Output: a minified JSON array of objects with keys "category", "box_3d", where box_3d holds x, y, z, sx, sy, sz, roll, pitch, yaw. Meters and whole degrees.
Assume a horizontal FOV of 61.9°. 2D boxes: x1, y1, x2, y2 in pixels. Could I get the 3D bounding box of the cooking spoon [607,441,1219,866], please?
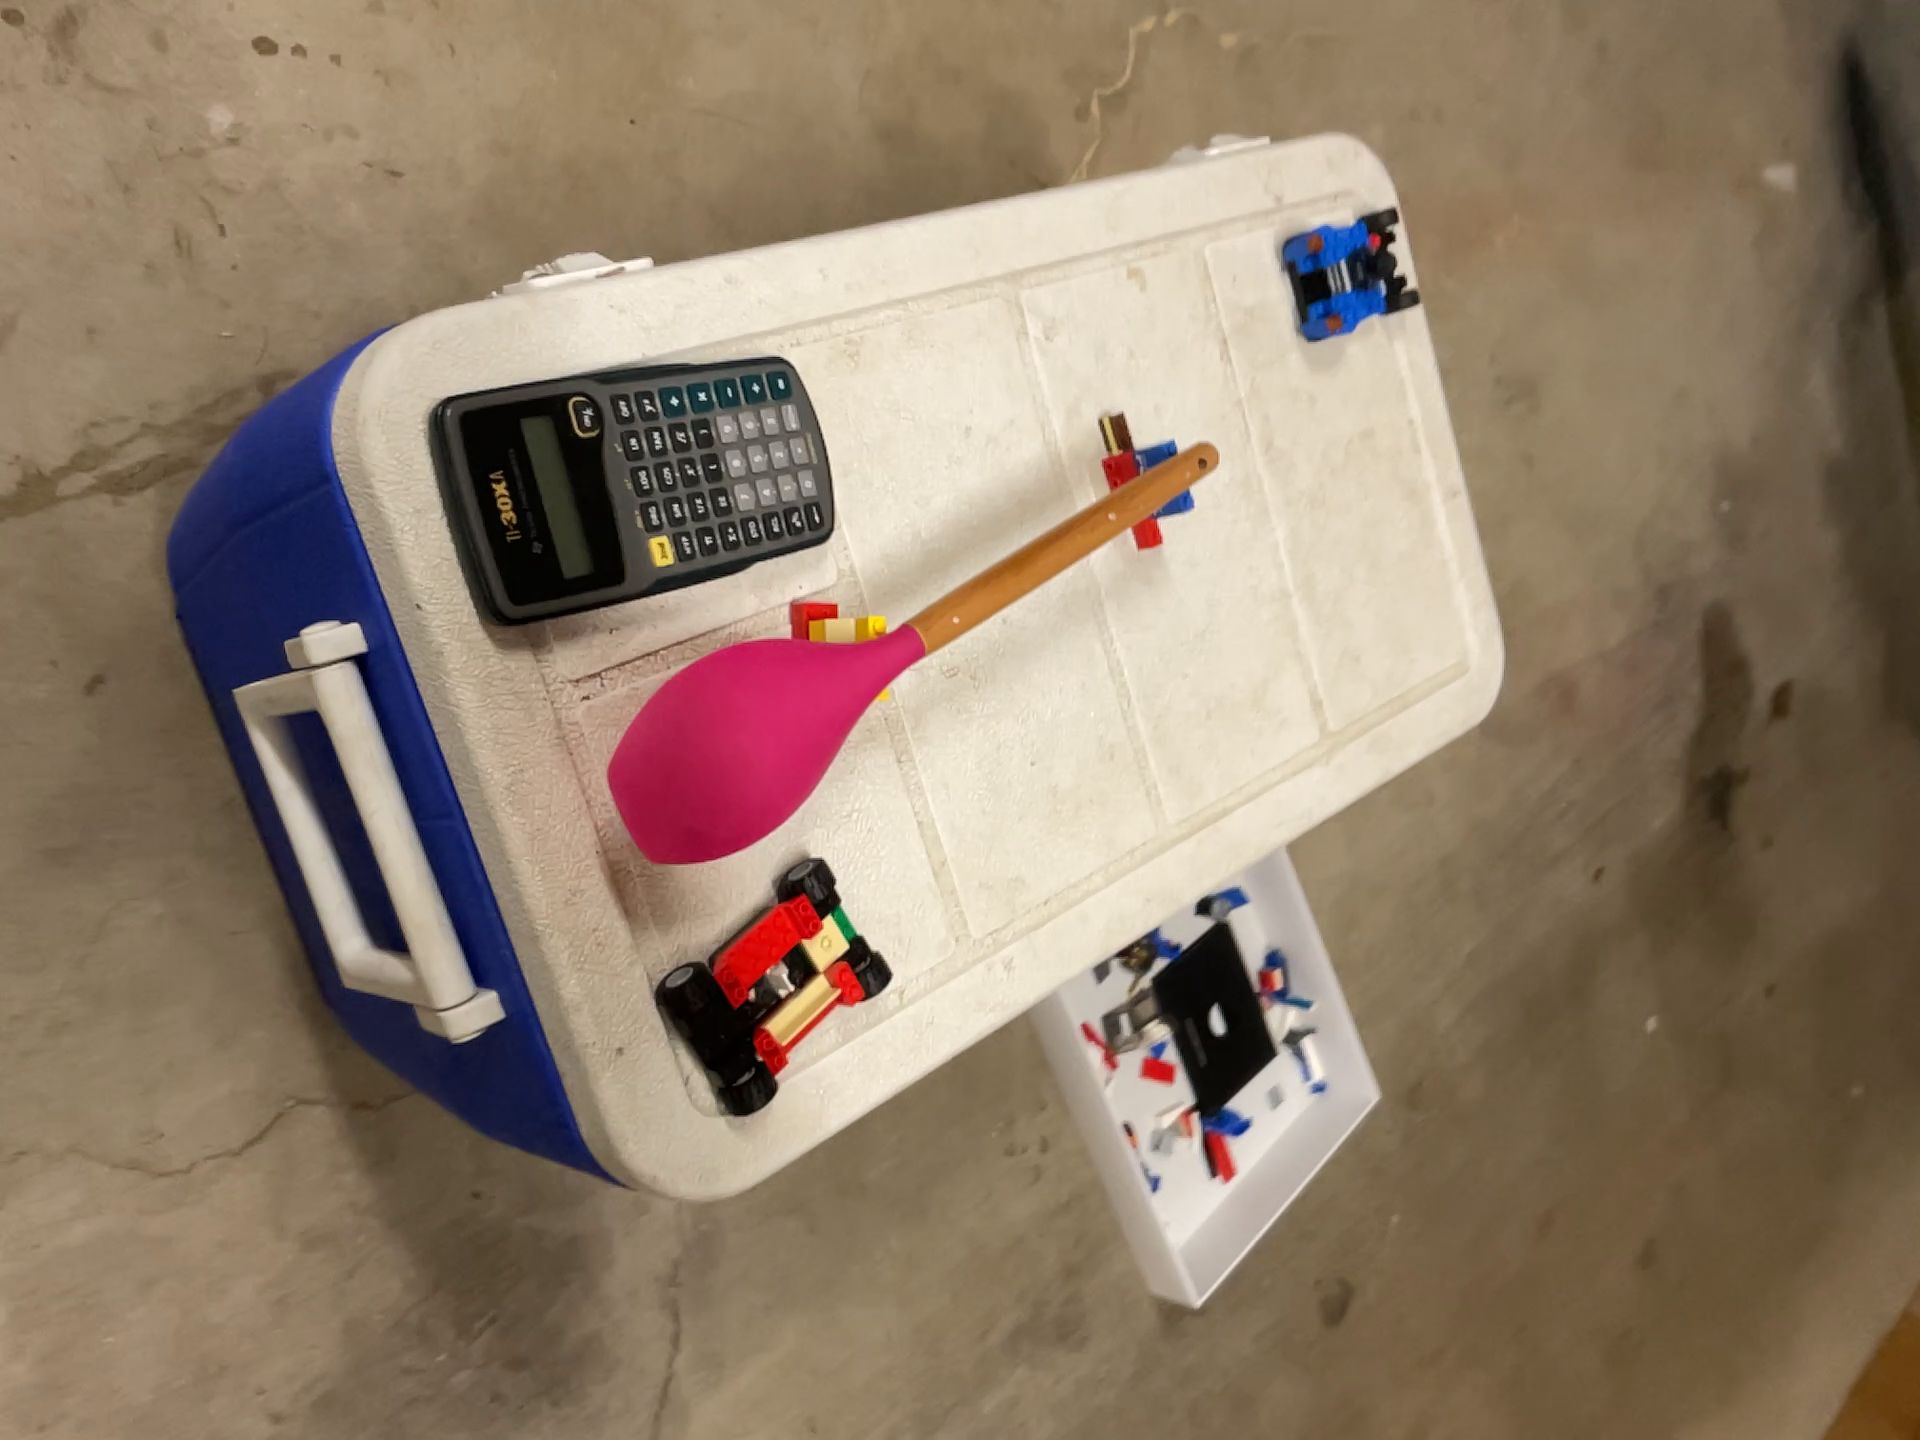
[{"category":"cooking spoon","box_3d":[-0.001,-0.042,0.614,0.319,0.017,0.068,-35,113,-34]}]
